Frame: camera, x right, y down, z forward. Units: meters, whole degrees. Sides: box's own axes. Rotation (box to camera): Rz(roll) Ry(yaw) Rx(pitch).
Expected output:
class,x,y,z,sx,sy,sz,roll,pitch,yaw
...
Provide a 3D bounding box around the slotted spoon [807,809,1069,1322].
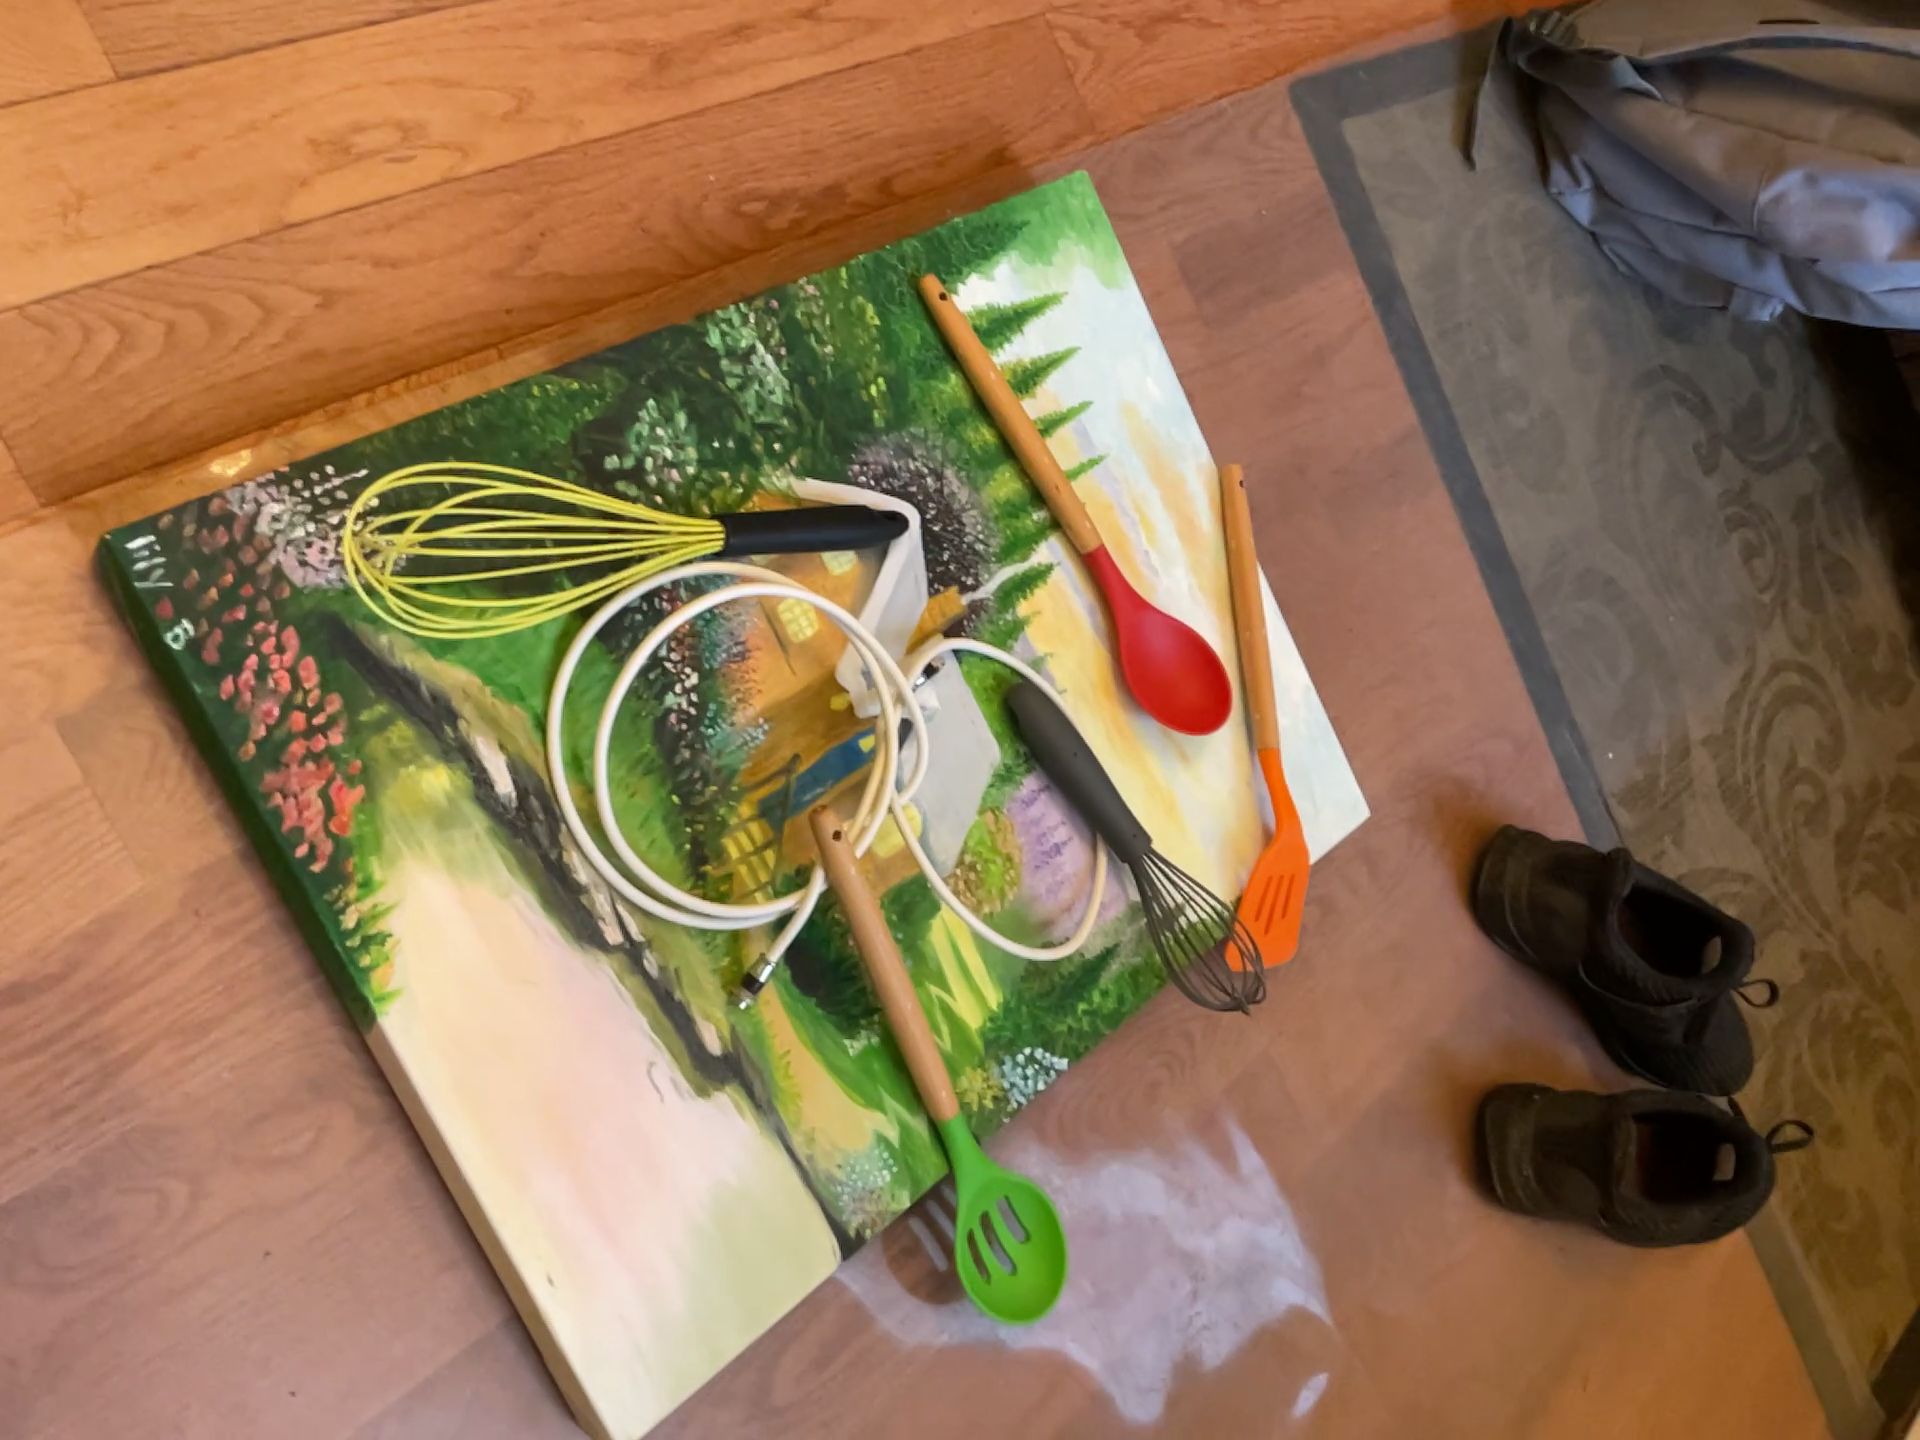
class,x,y,z,sx,sy,sz,roll,pitch,yaw
slotted spoon,-0.014,0.182,0.823,0.070,0.031,0.313,-35,113,-33

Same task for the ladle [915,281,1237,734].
class,x,y,z,sx,sy,sz,roll,pitch,yaw
ladle,0.066,-0.122,0.940,0.069,0.031,0.315,-42,103,-33

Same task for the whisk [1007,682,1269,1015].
class,x,y,z,sx,sy,sz,roll,pitch,yaw
whisk,0.102,0.075,0.918,0.239,0.055,0.055,53,47,-8

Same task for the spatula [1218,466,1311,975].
class,x,y,z,sx,sy,sz,roll,pitch,yaw
spatula,0.185,-0.002,1.012,0.081,0.041,0.323,1,79,-45

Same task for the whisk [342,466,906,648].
class,x,y,z,sx,sy,sz,roll,pitch,yaw
whisk,-0.147,-0.086,0.775,0.311,0.067,0.080,-11,93,-41
